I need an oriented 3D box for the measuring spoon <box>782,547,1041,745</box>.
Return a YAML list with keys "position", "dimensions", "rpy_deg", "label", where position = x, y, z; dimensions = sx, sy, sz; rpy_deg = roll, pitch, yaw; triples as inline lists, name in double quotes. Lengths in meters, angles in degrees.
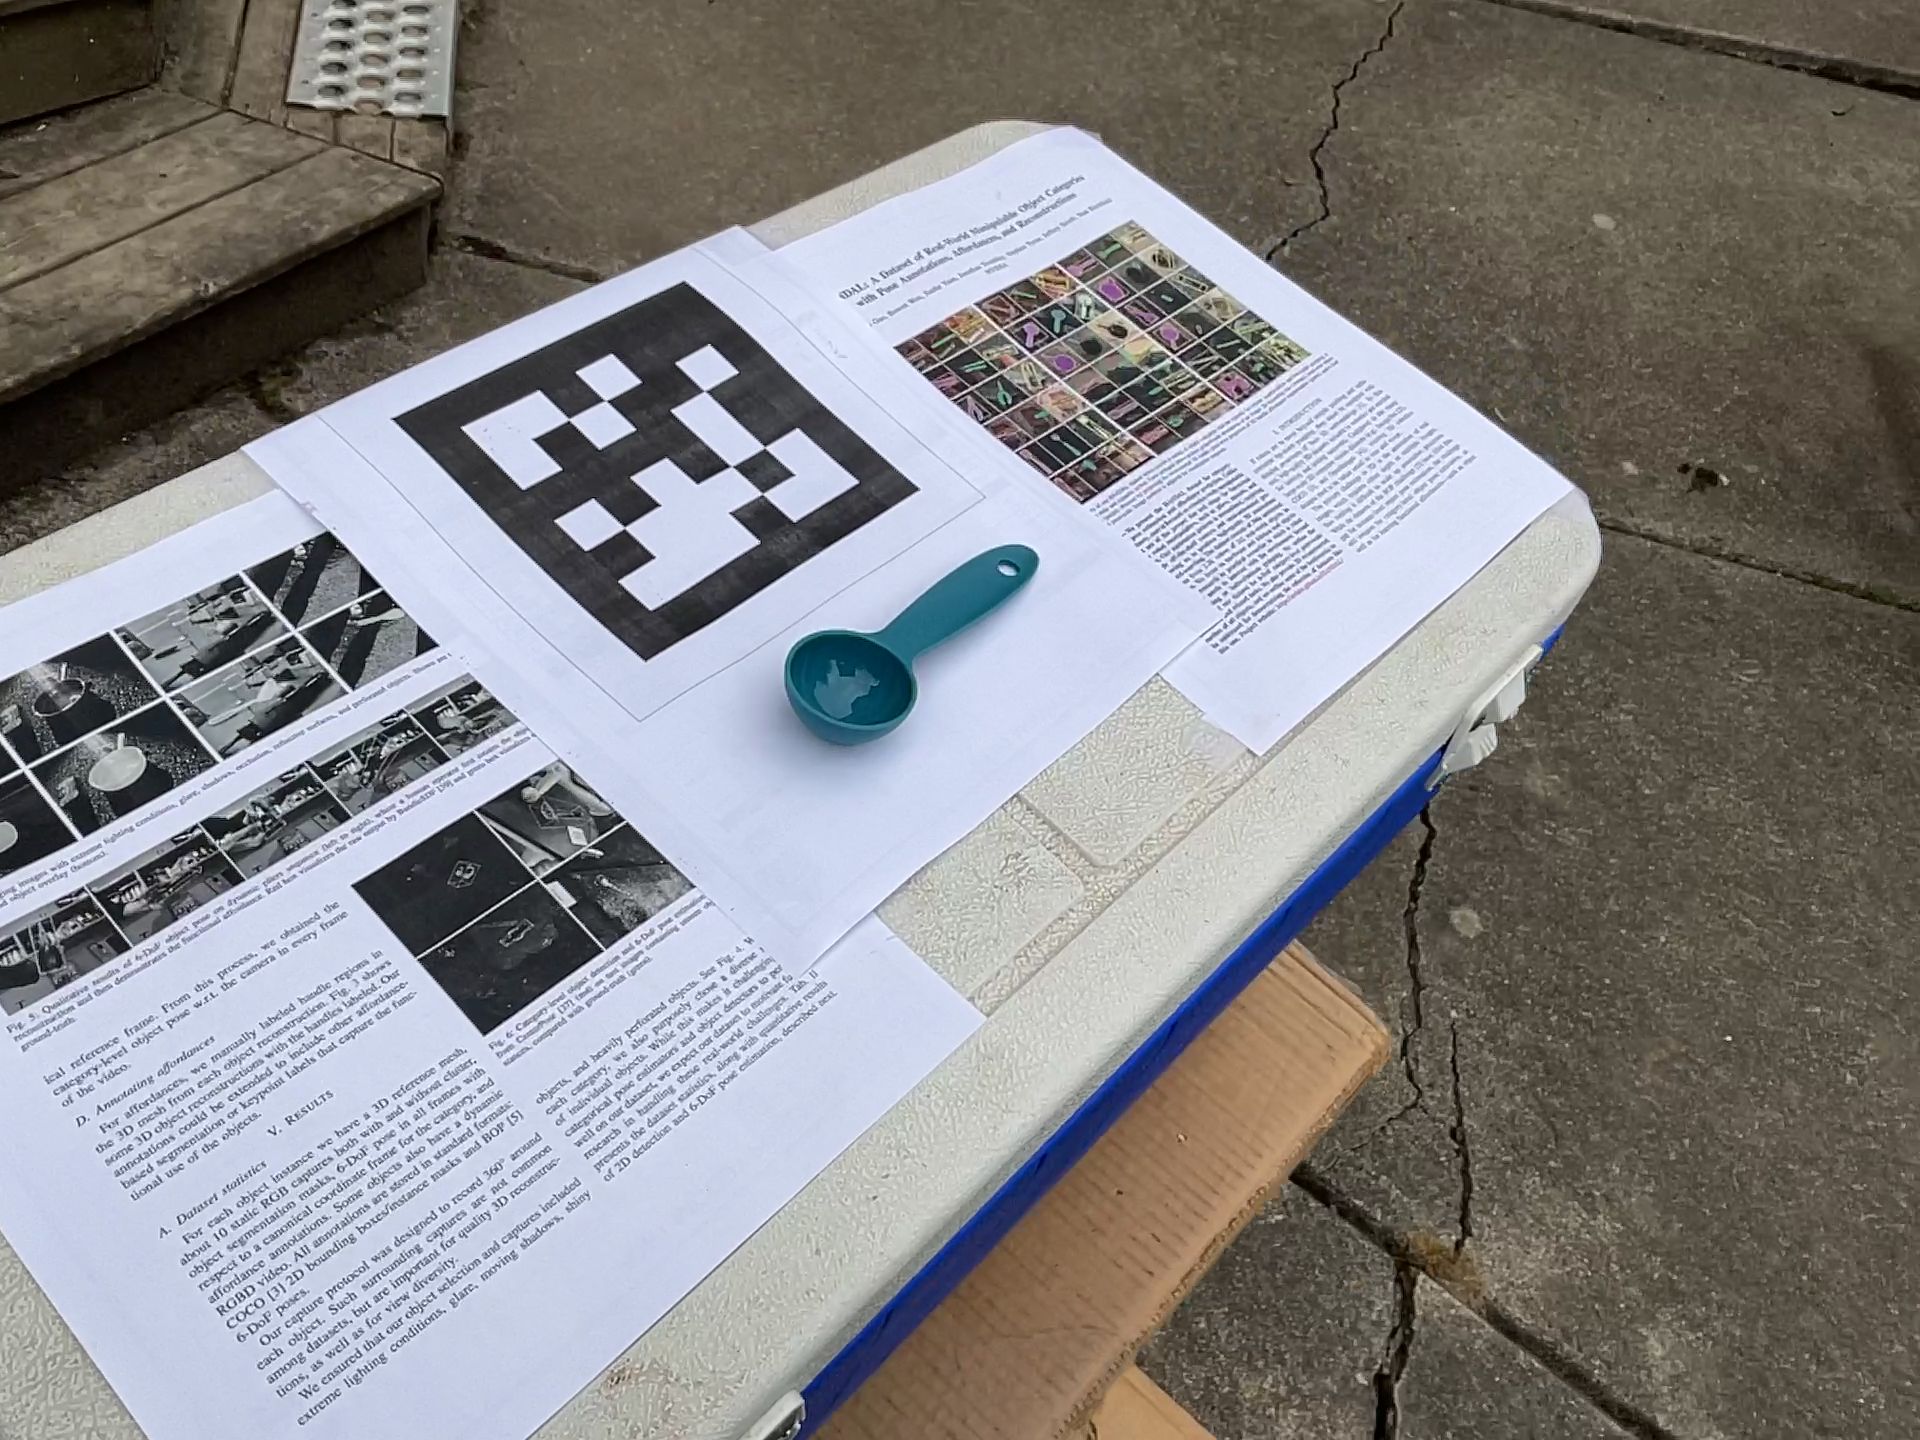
- position: [-0.012, -0.026, 0.533]
  dimensions: [0.042, 0.021, 0.129]
  rpy_deg: [38, 44, 15]
  label: "measuring spoon"
